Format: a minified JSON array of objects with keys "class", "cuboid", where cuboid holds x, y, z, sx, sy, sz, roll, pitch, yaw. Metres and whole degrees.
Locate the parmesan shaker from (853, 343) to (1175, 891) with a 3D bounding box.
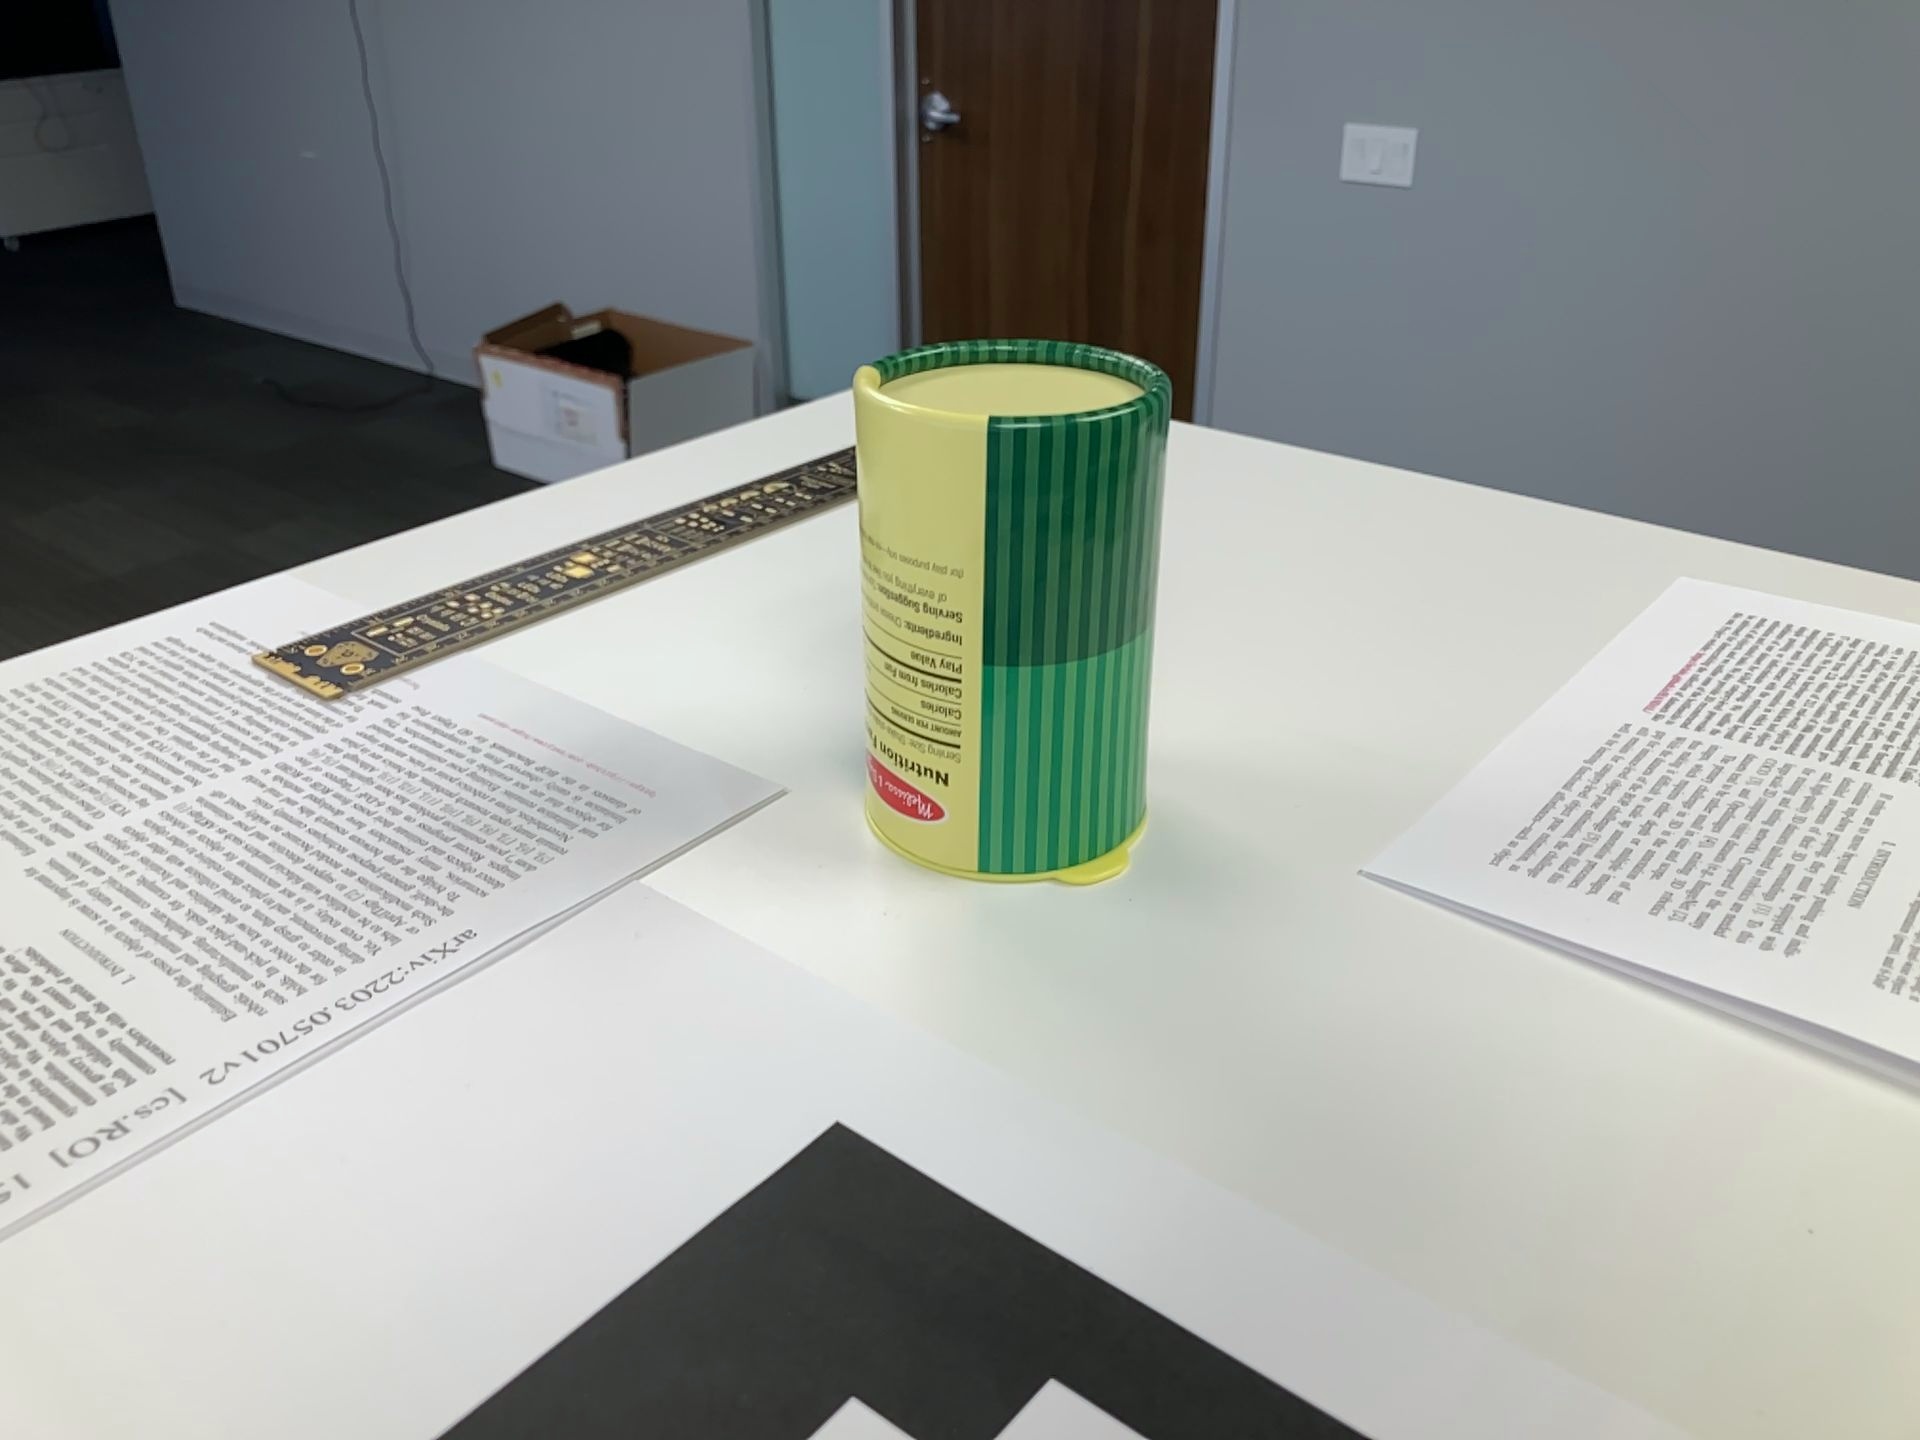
[{"class":"parmesan shaker","cuboid":[0.013,-0.023,0.344,0.071,0.103,0.071,0,27,0]}]
